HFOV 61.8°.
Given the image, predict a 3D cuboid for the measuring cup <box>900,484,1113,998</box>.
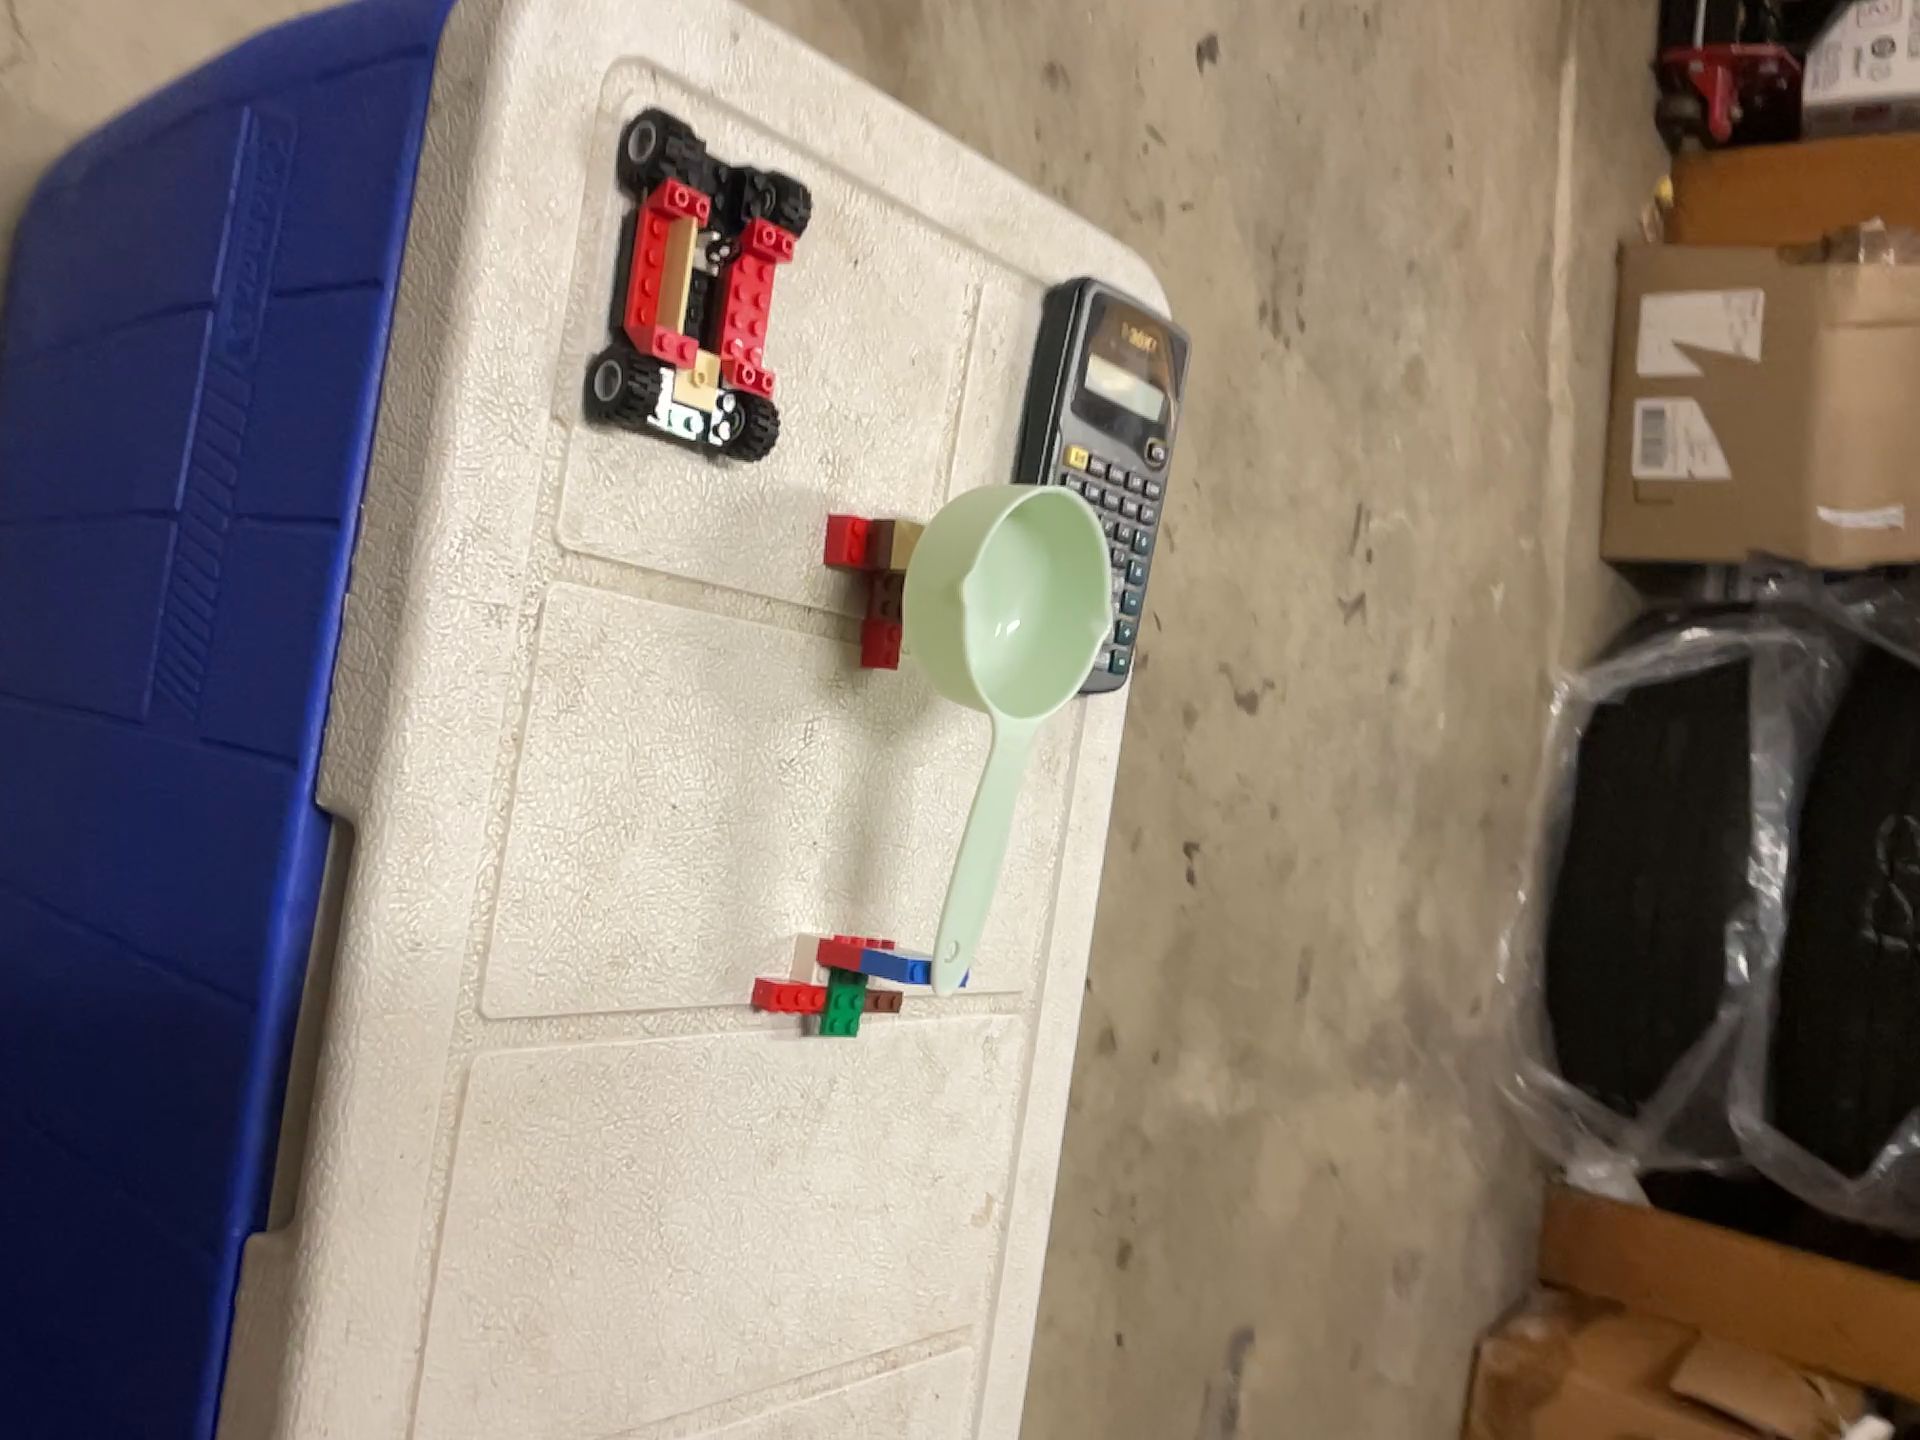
[{"bbox_3d":[0.003,0.005,0.522,0.083,0.038,0.167,7,97,-52],"label":"measuring cup"}]
